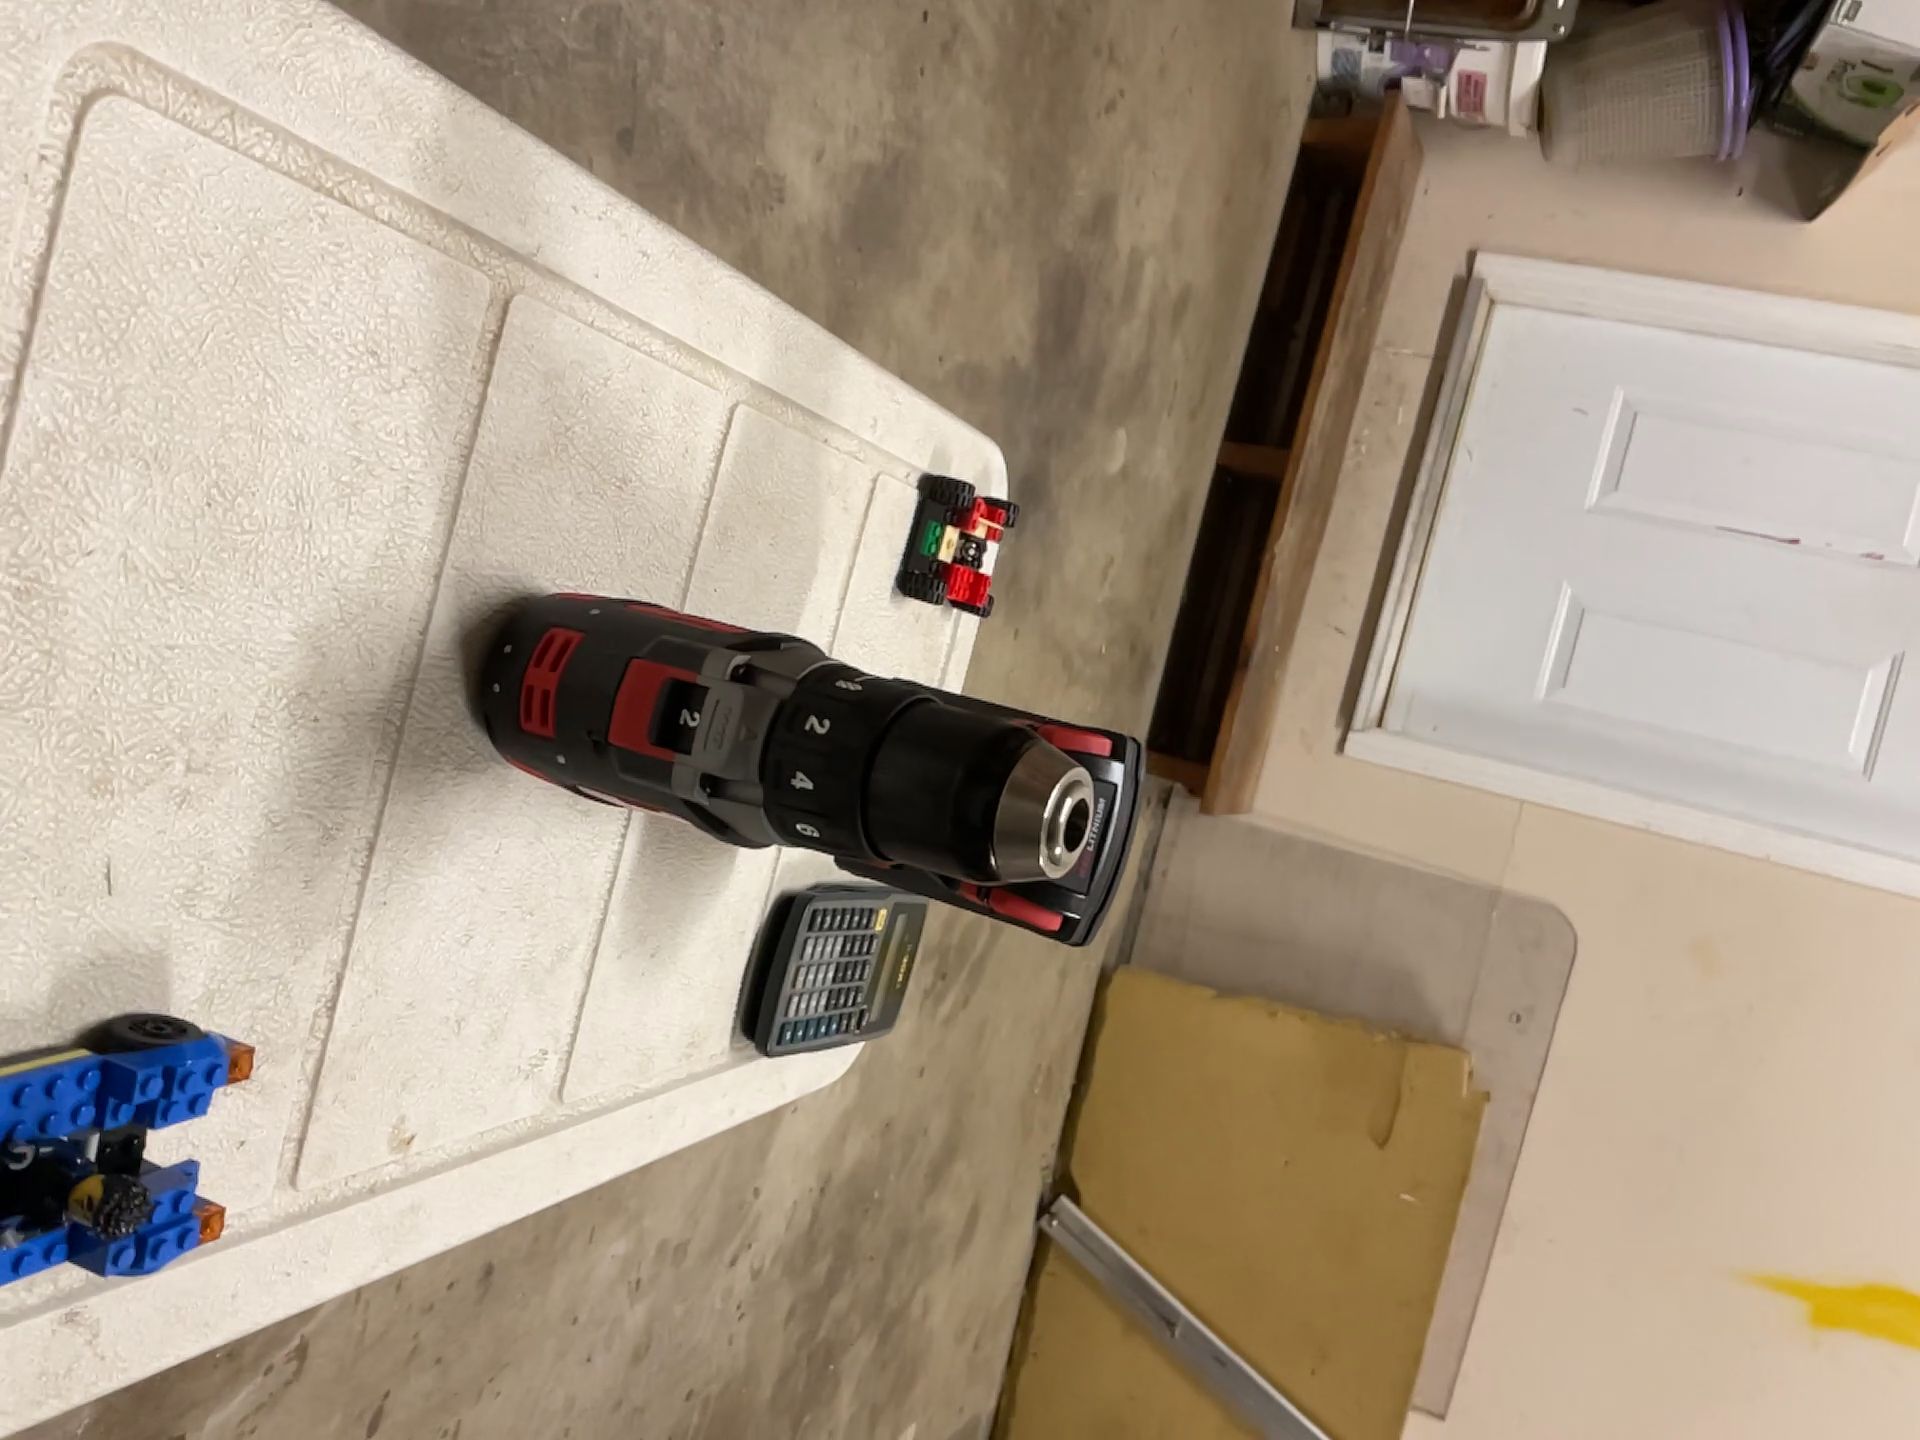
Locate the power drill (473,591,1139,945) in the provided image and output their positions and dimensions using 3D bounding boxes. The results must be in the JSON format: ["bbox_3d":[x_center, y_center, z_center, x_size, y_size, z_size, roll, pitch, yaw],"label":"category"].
[{"bbox_3d":[-0.016,0.020,0.510,0.226,0.188,0.080,22,83,-61],"label":"power drill"}]
